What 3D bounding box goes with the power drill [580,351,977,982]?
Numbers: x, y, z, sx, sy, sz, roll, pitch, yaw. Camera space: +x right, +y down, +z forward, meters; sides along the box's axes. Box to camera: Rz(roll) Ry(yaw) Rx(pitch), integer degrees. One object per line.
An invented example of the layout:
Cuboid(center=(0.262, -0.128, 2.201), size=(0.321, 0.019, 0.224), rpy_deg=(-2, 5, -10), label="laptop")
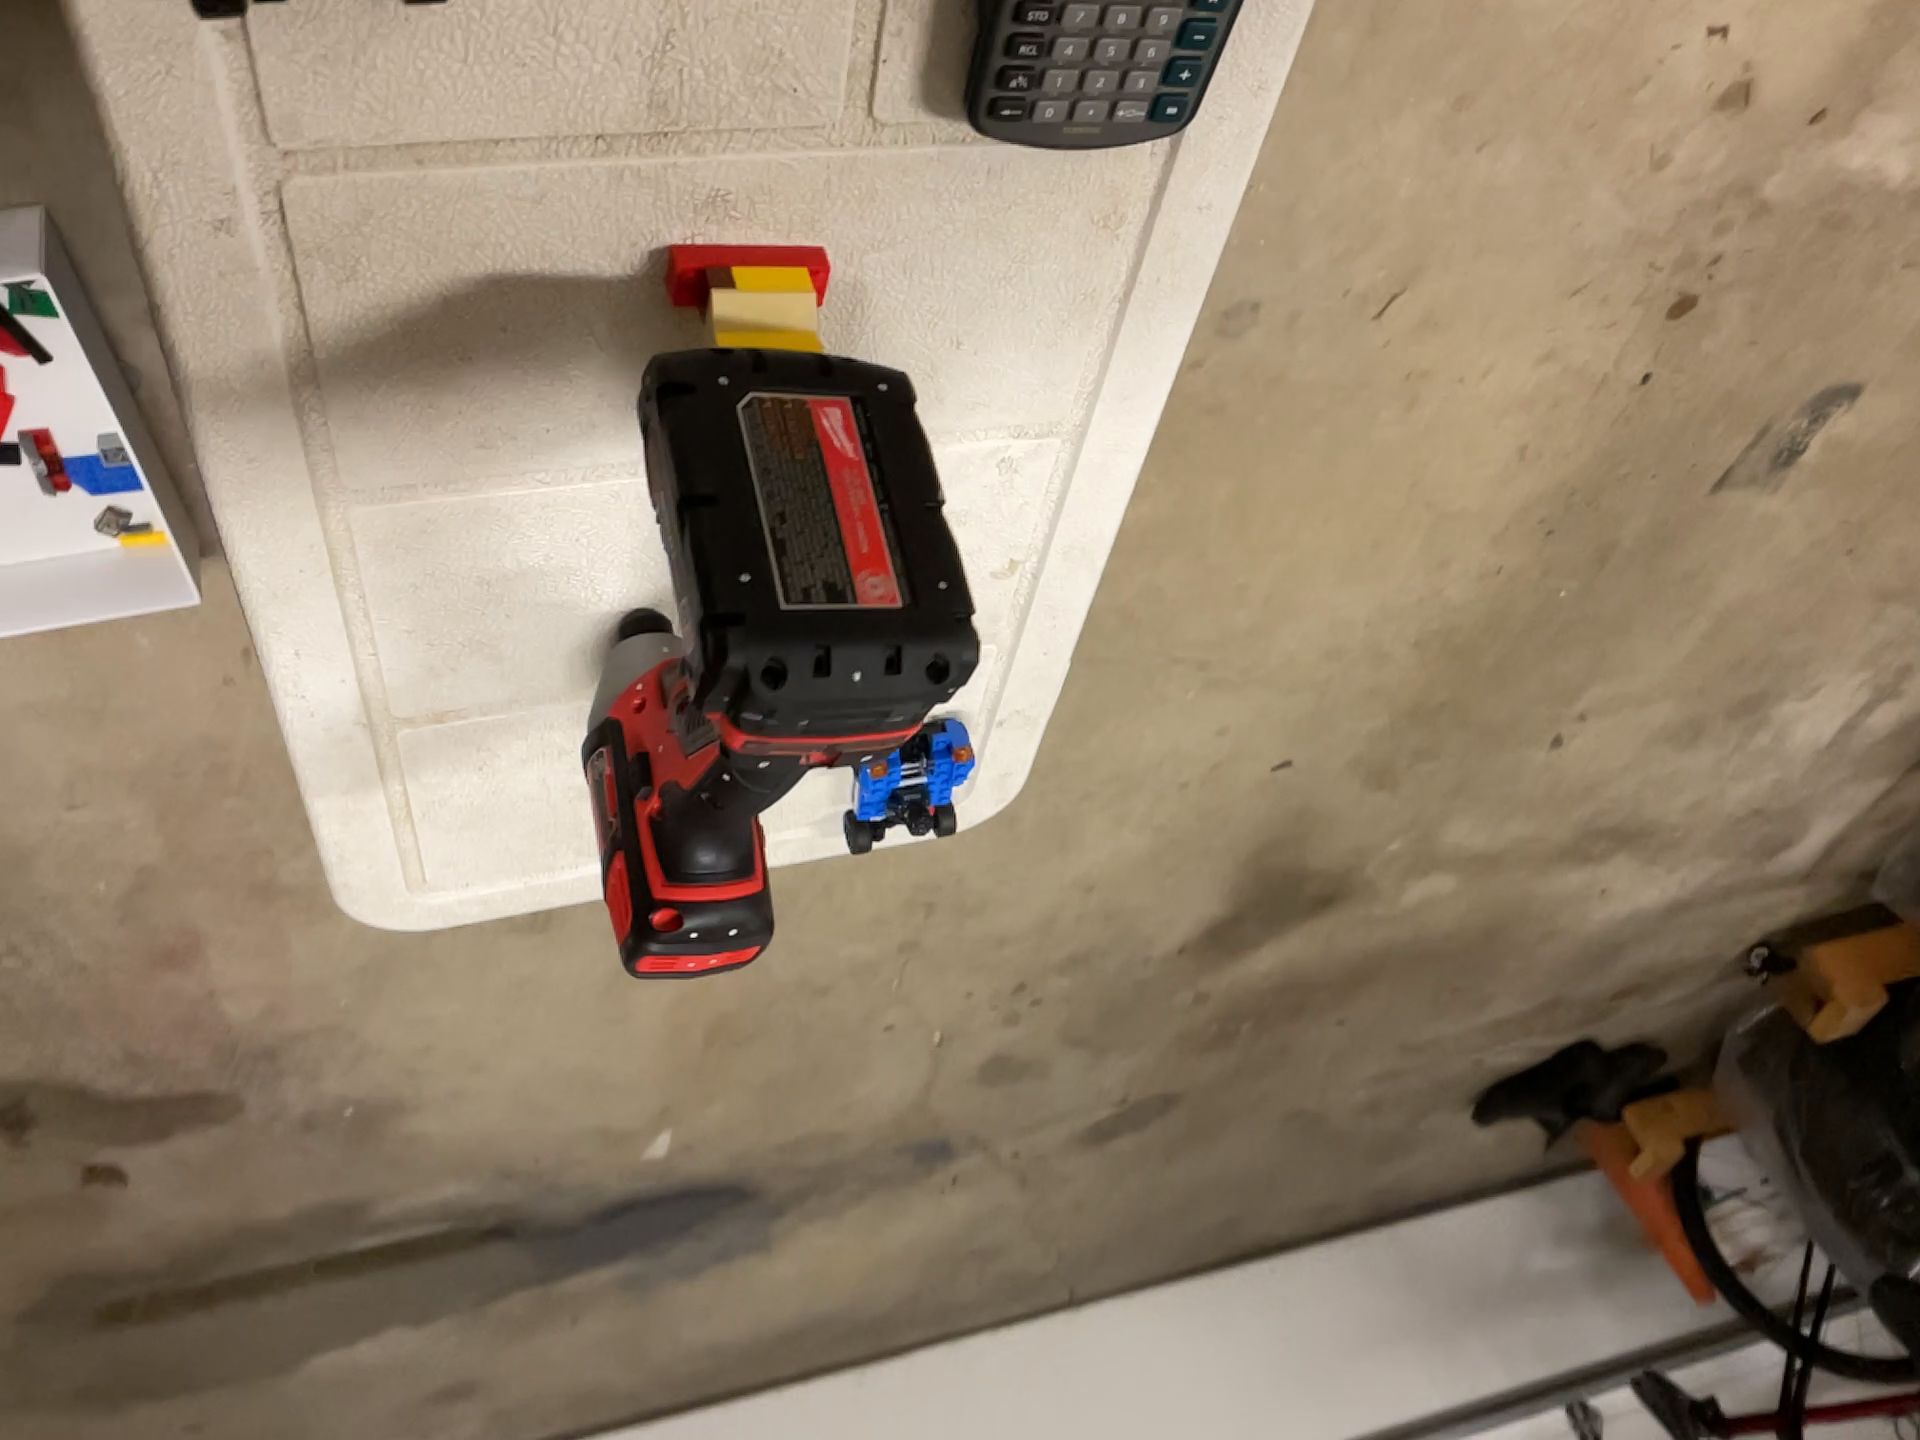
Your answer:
Cuboid(center=(-0.079, -0.014, 0.529), size=(0.078, 0.143, 0.219), rpy_deg=(-2, 152, -25), label="power drill")
